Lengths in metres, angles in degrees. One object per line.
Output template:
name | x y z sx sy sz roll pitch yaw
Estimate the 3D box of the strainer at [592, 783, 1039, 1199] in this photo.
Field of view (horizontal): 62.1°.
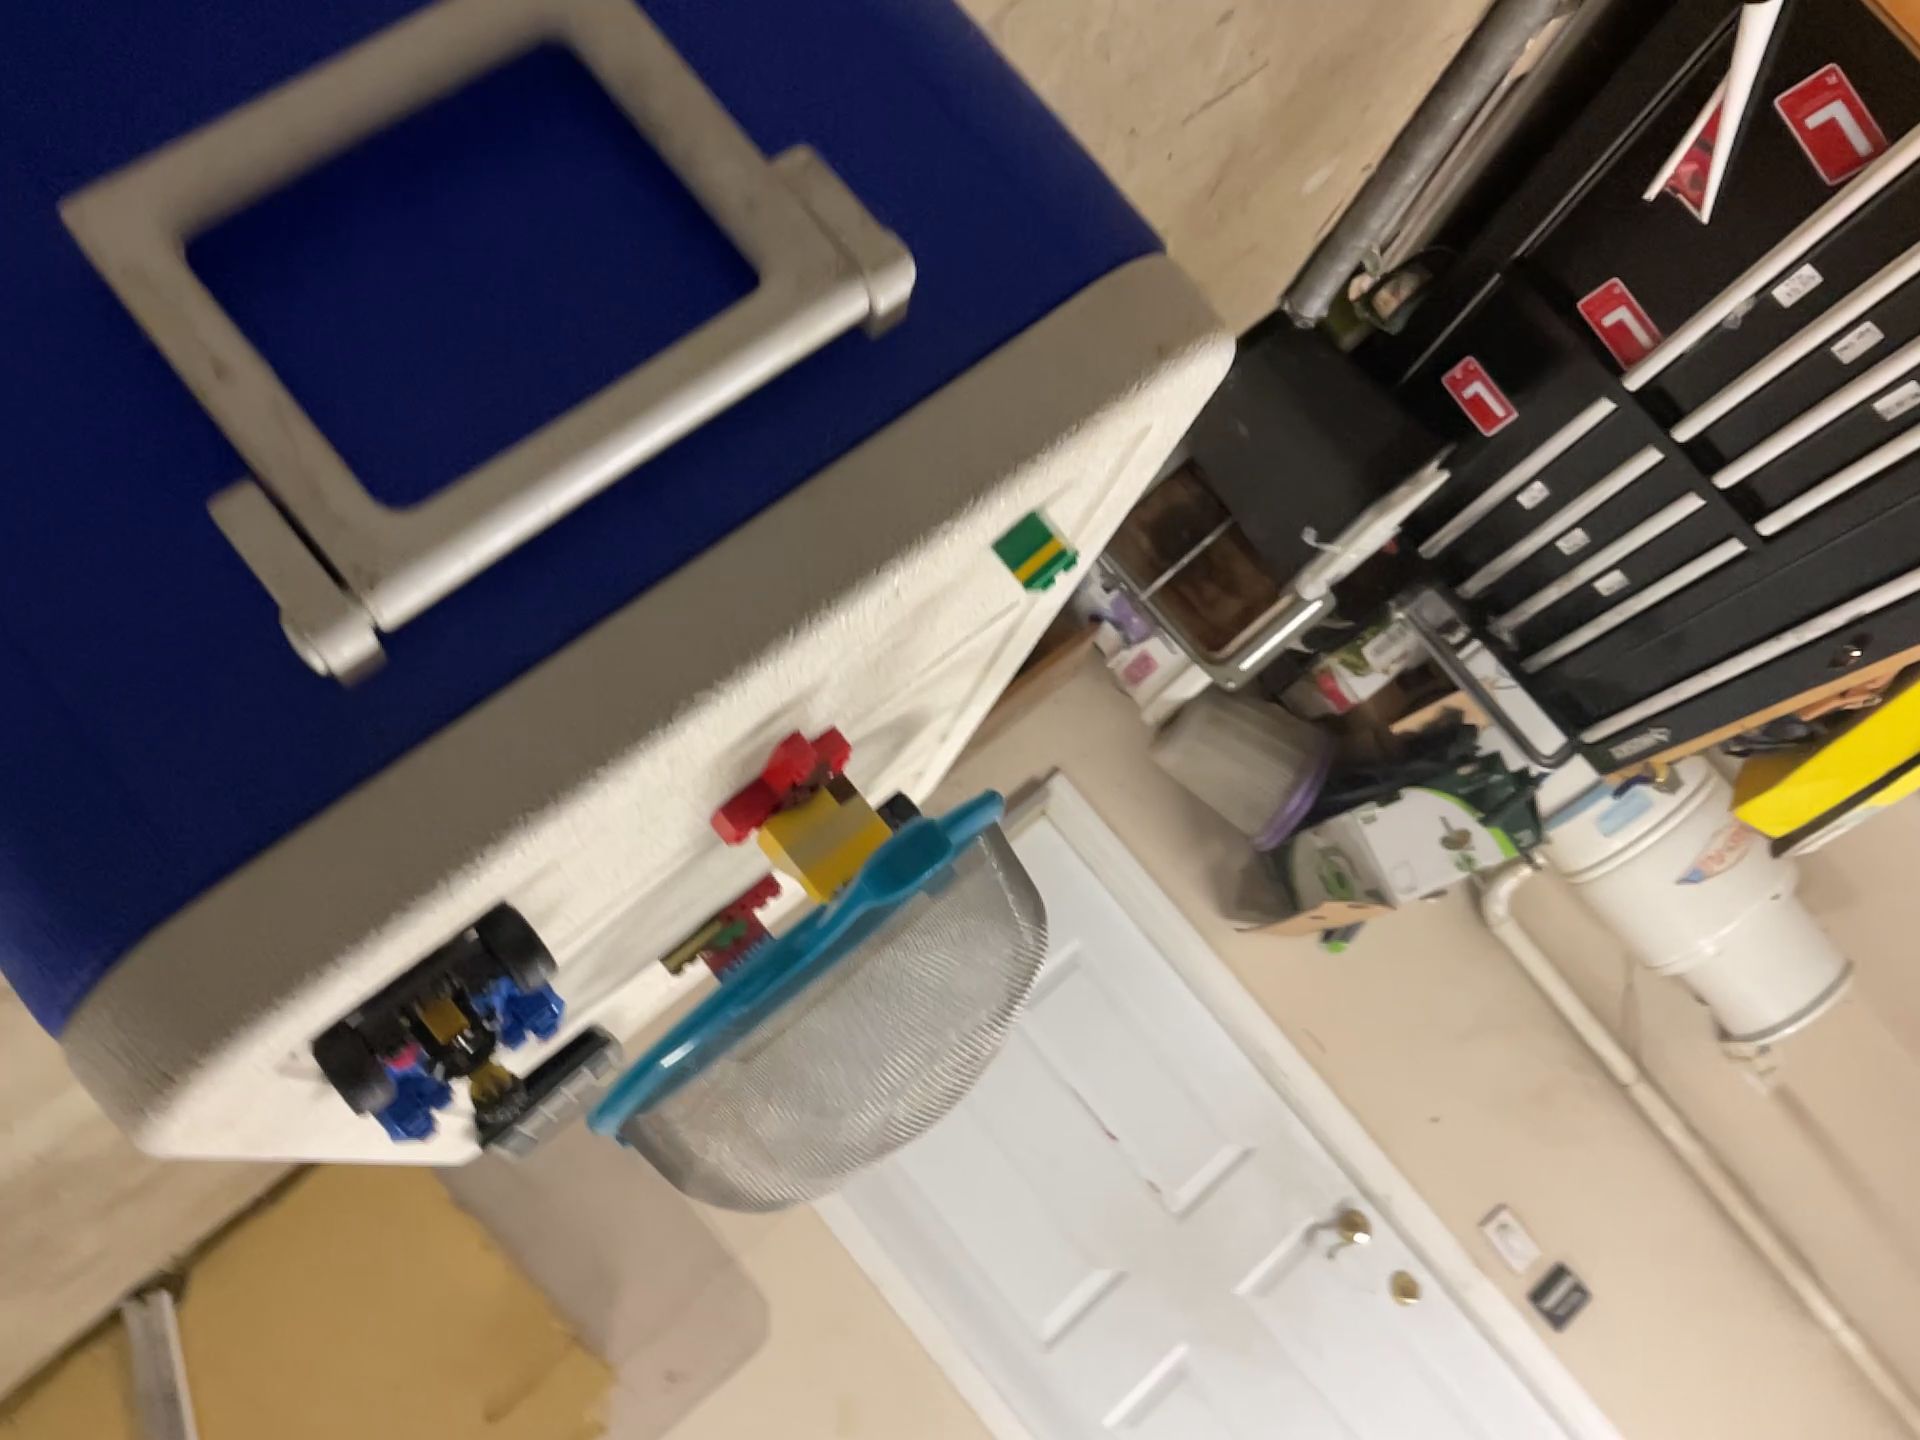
strainer | -0.024 0.108 0.585 0.211 0.095 0.340 -38 175 -19
